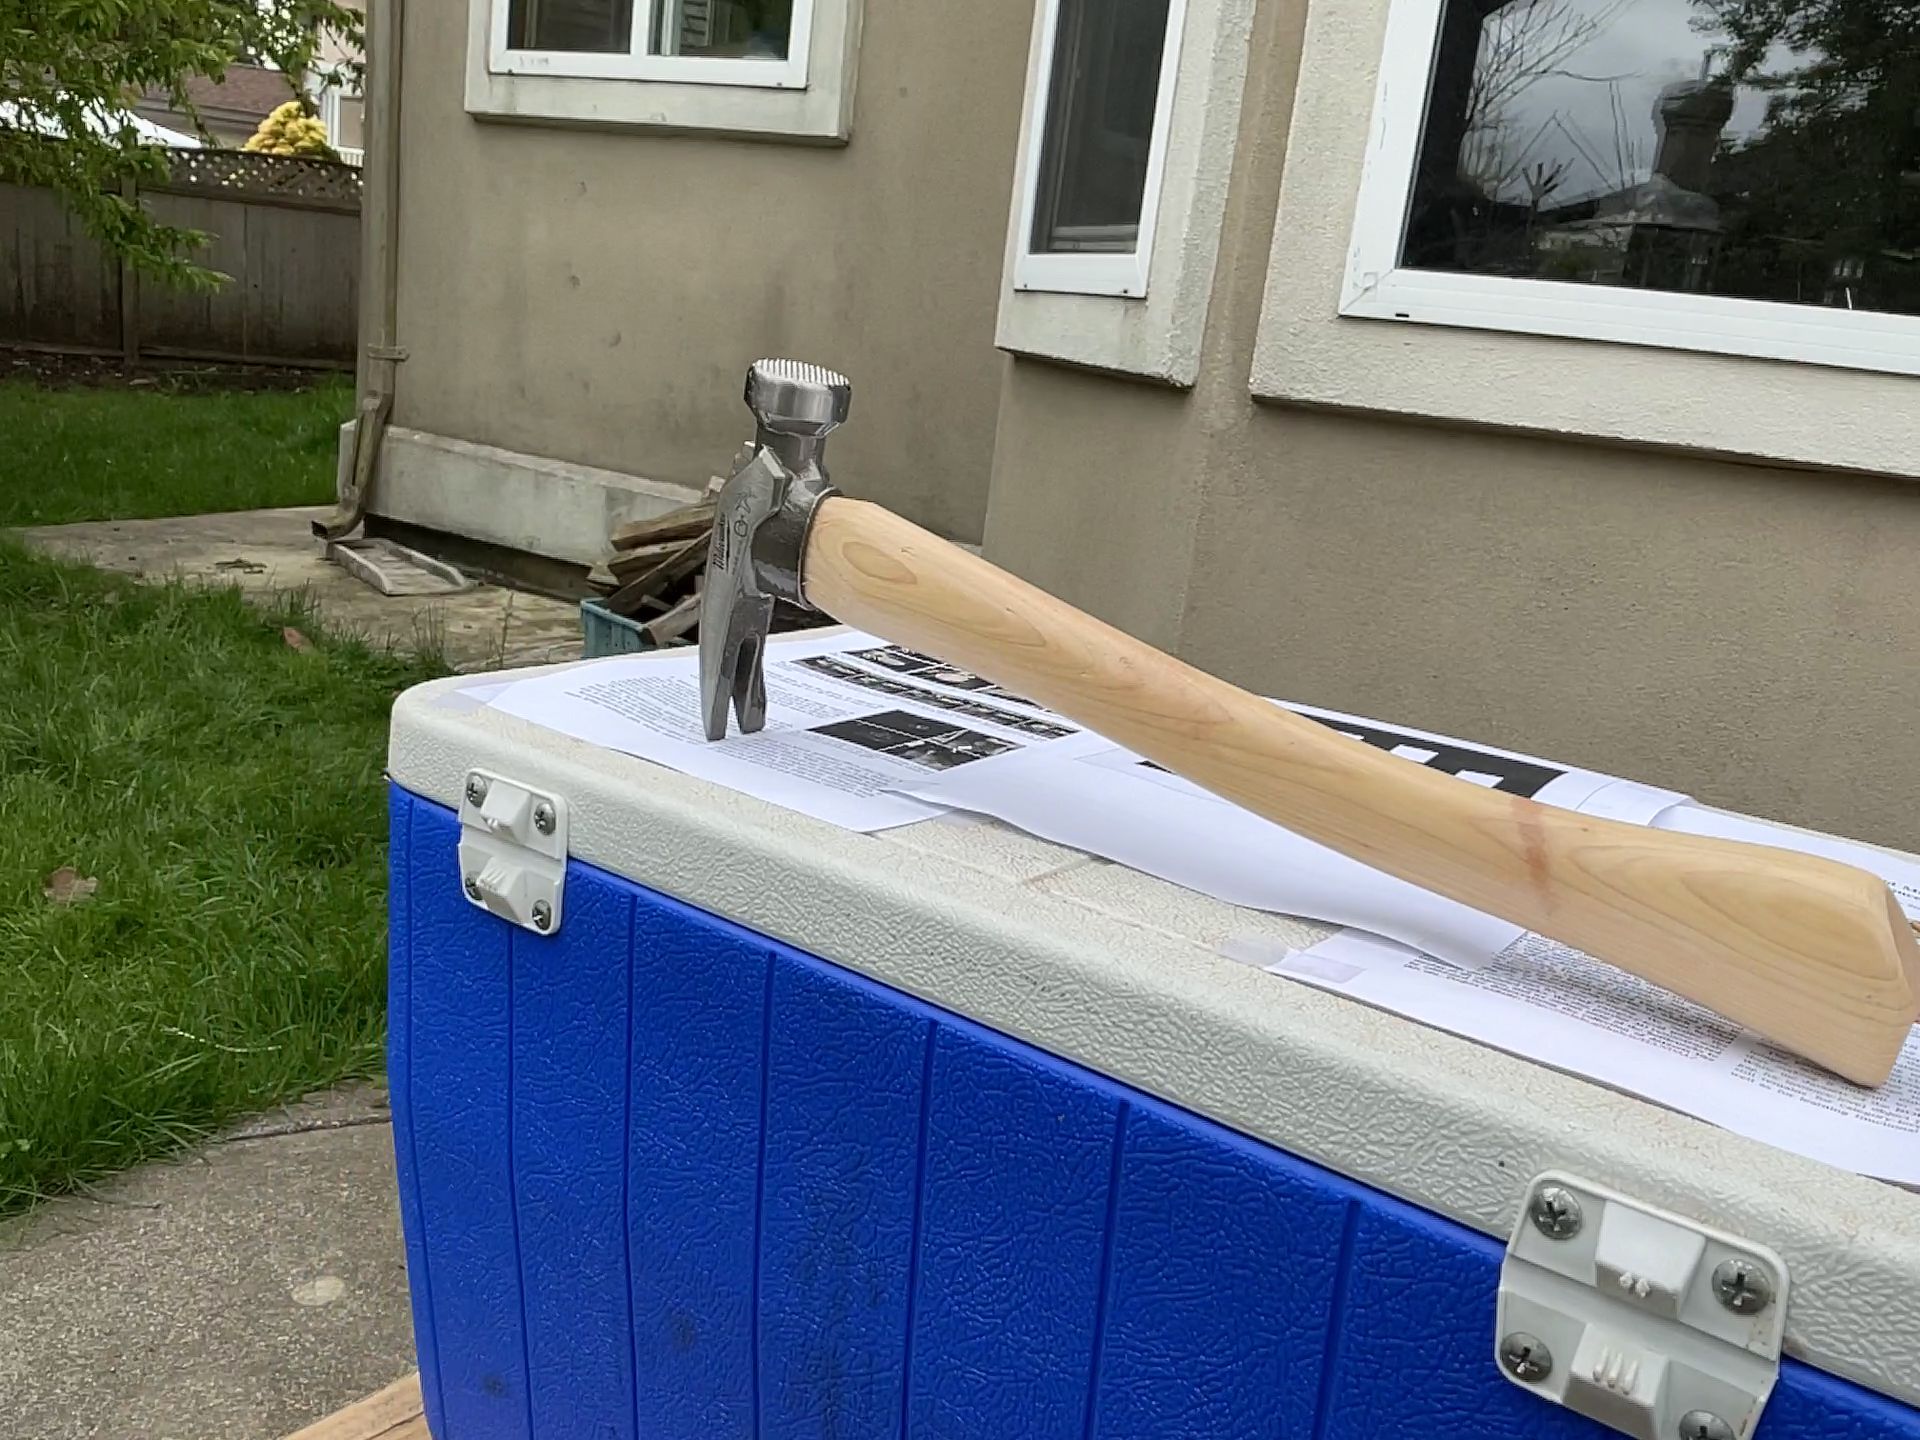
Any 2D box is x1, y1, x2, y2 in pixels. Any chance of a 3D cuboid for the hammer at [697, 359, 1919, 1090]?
[{"bbox_3d":[0.071,0.010,0.503,0.411,0.146,0.038,26,24,31],"label":"hammer"}]
